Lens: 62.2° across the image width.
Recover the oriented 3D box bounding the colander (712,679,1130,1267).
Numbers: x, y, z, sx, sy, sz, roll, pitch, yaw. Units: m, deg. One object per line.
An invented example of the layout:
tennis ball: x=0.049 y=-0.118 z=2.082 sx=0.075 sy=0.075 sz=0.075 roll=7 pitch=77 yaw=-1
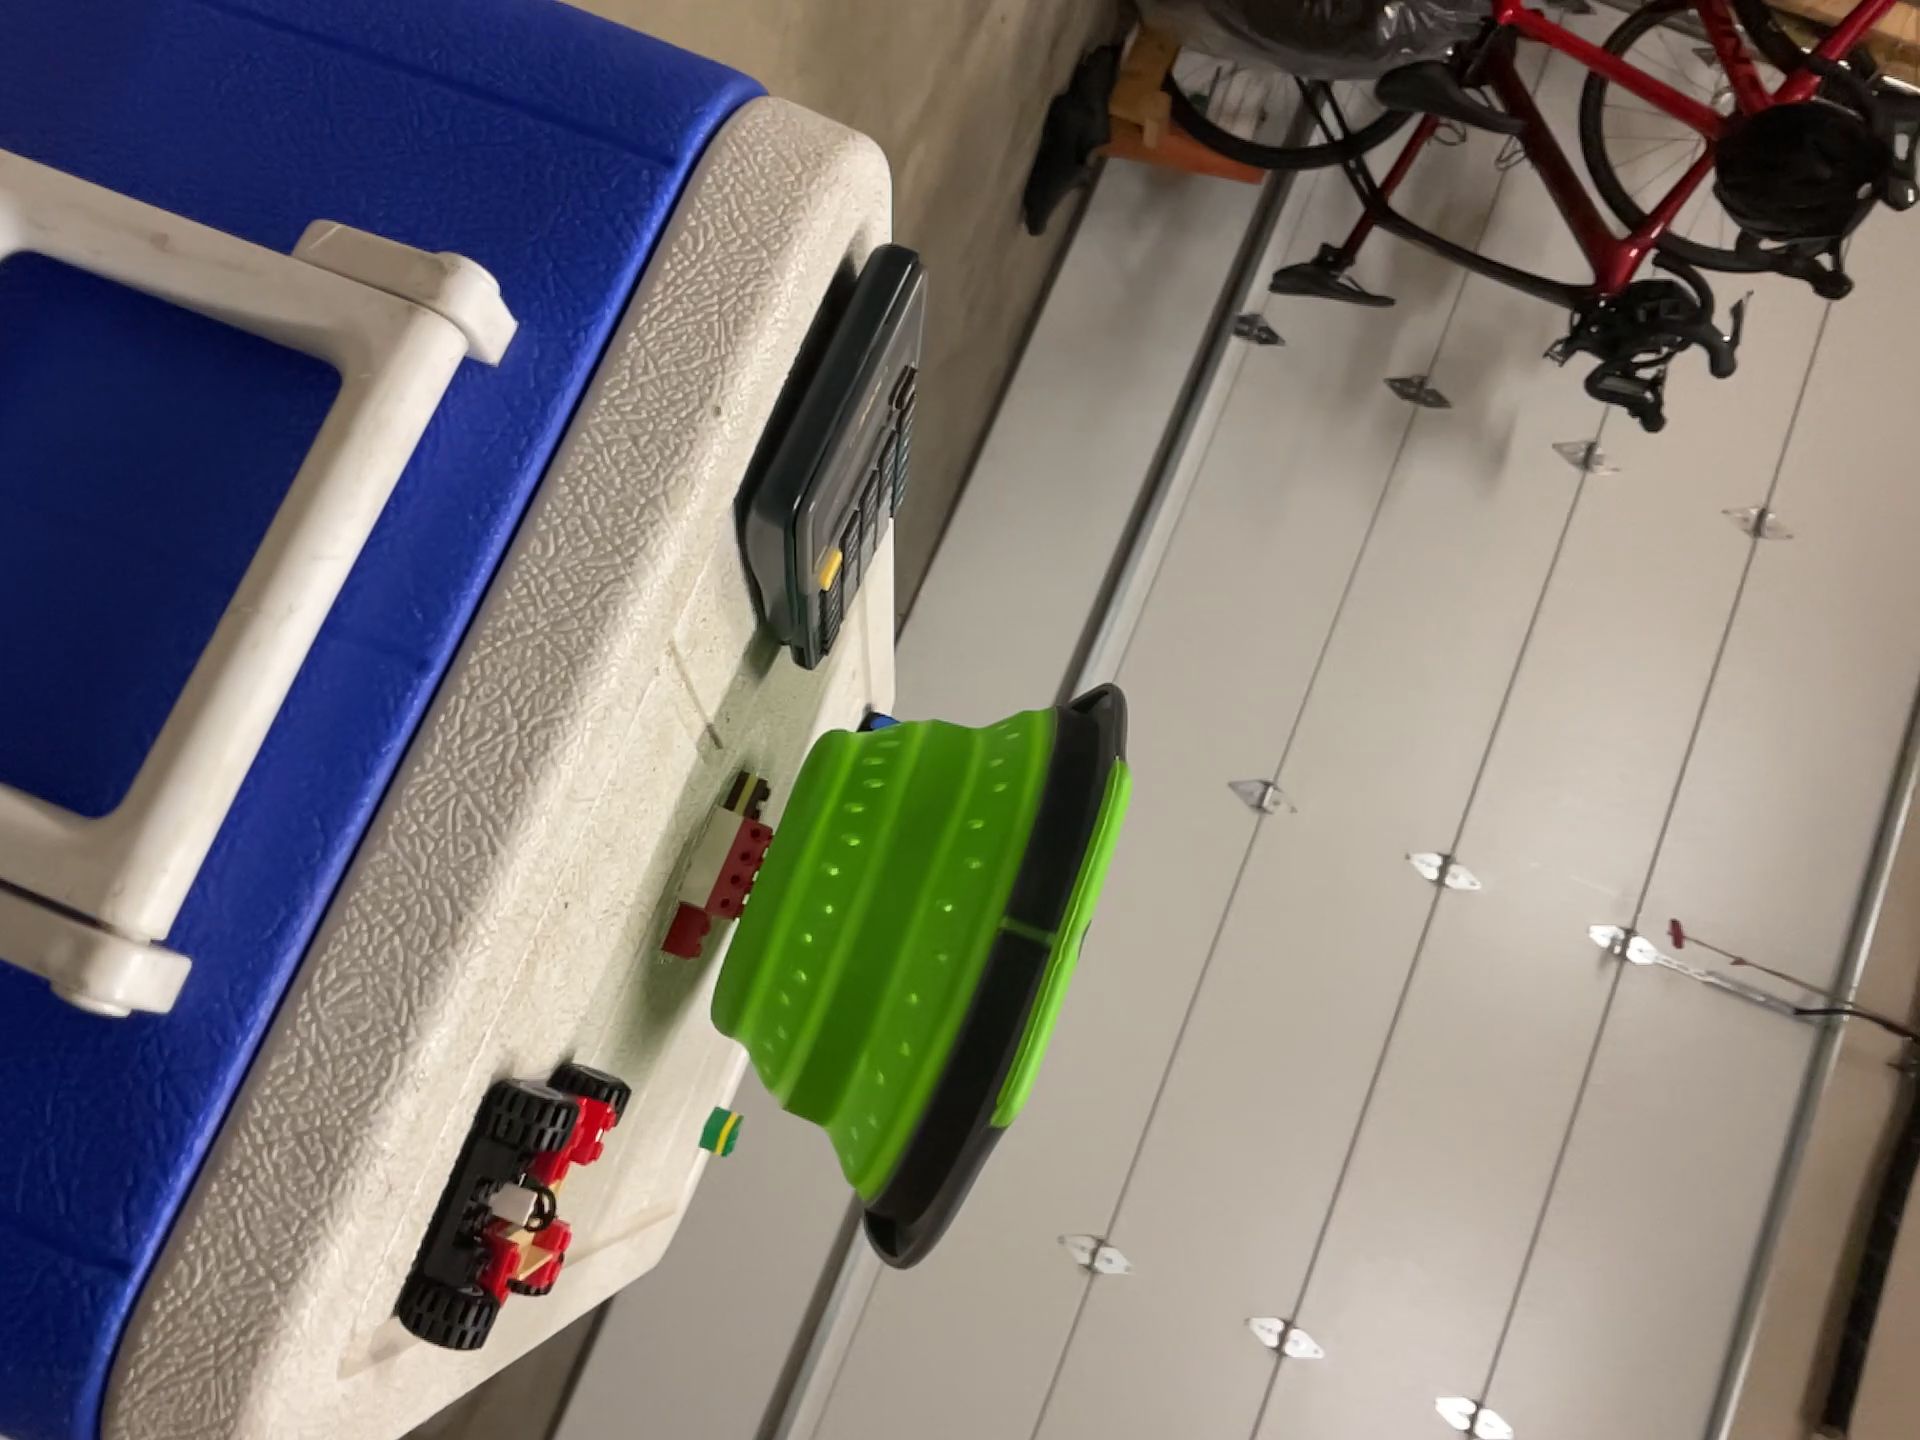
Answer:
colander: x=-0.034 y=0.087 z=0.617 sx=0.396 sy=0.094 sz=0.204 roll=120 pitch=-10 yaw=-75
